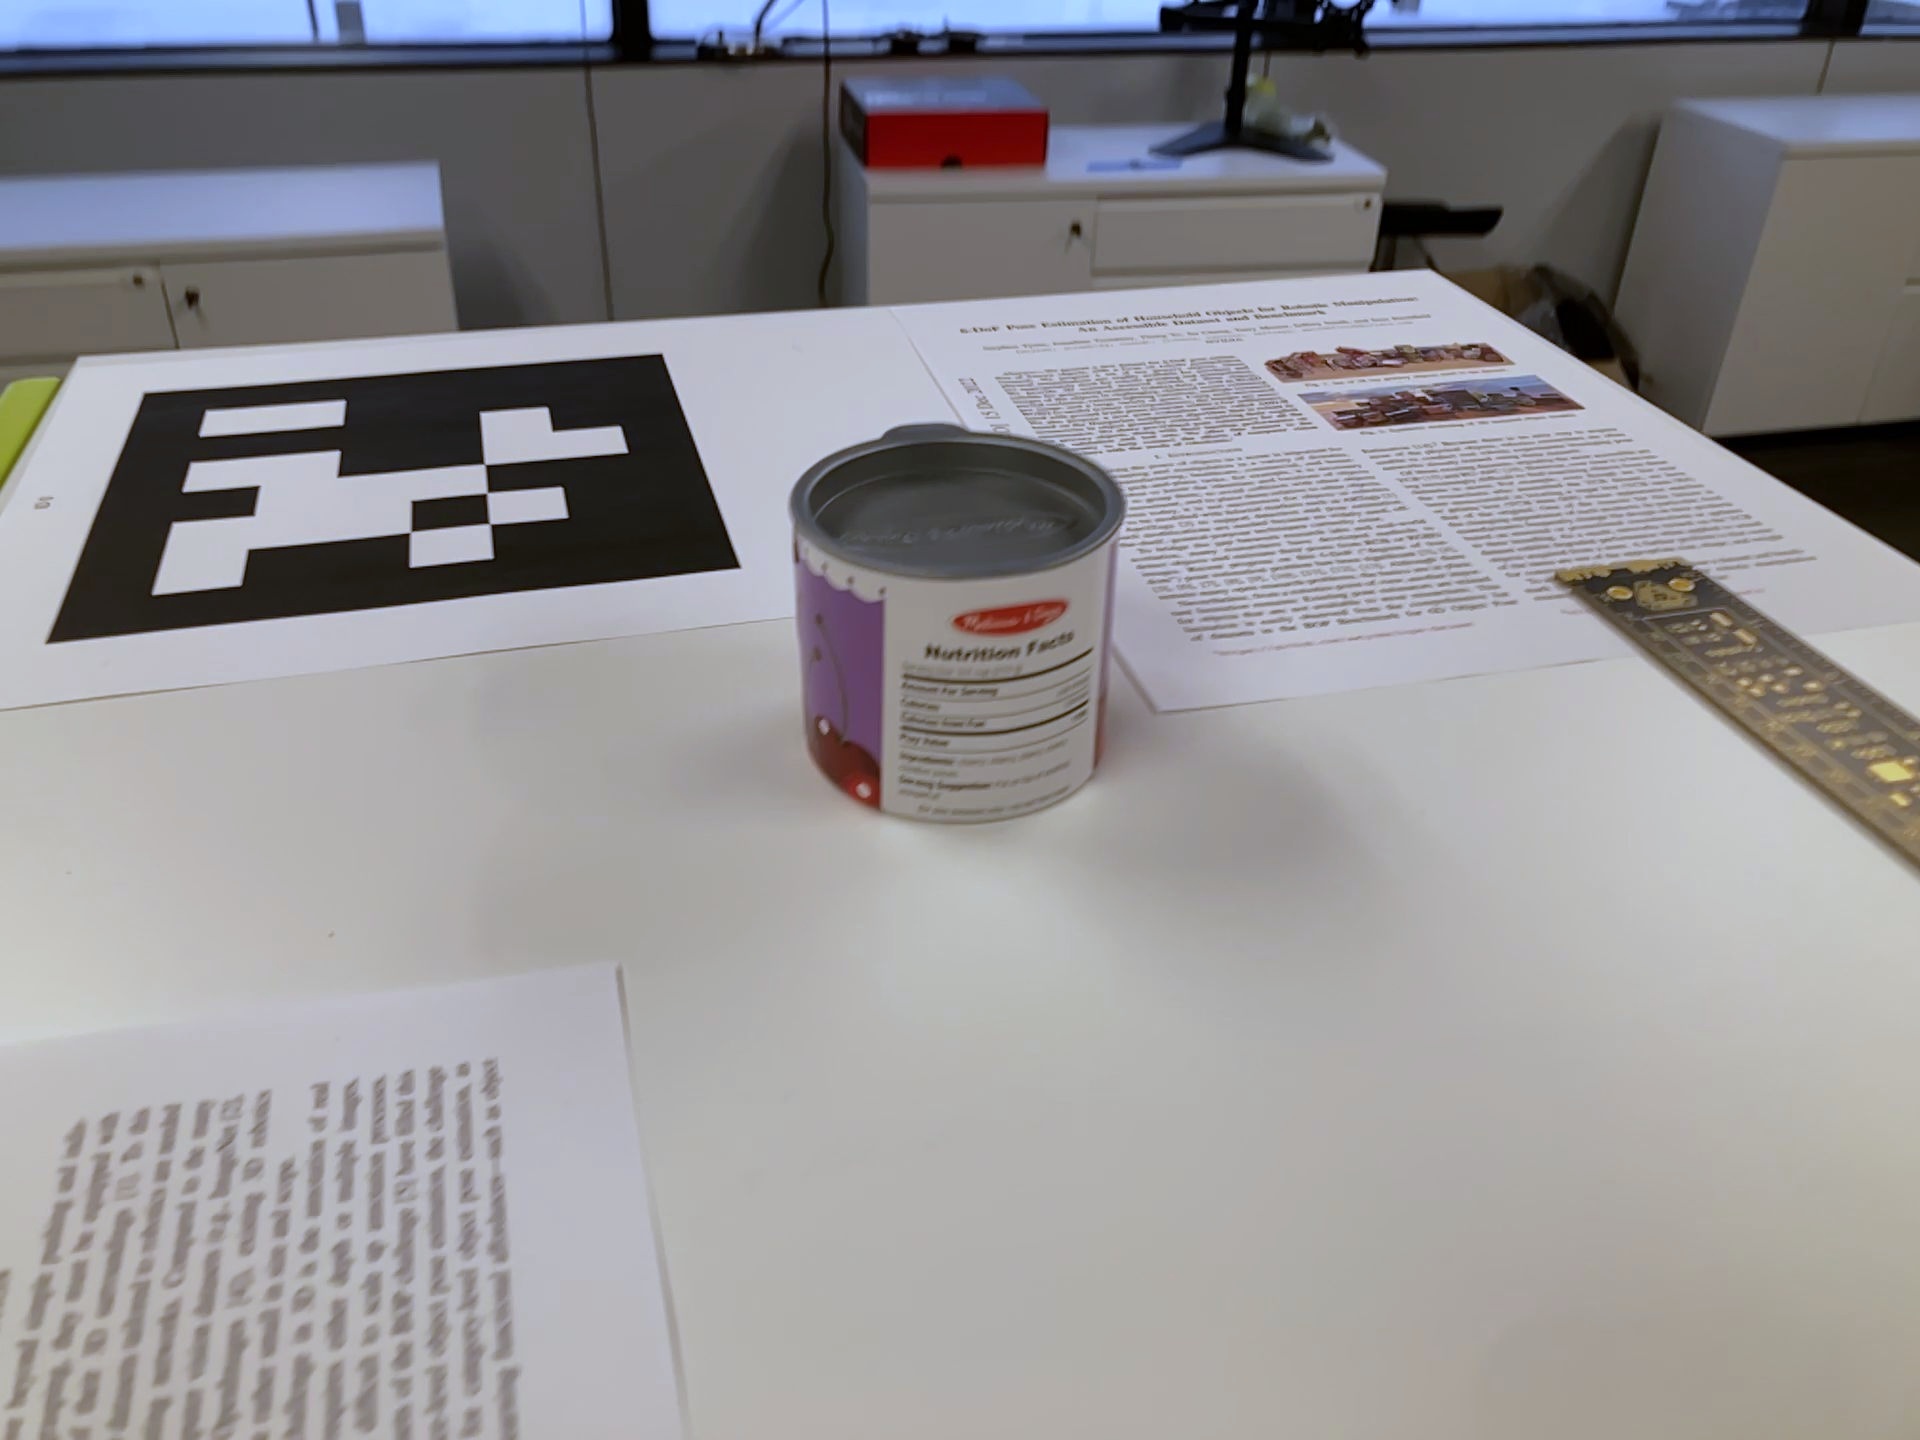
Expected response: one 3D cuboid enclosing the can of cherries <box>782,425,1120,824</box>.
[{"bbox_3d":[-0.003,-0.022,0.329,0.071,0.058,0.071,0,33,0],"label":"can of cherries"}]
